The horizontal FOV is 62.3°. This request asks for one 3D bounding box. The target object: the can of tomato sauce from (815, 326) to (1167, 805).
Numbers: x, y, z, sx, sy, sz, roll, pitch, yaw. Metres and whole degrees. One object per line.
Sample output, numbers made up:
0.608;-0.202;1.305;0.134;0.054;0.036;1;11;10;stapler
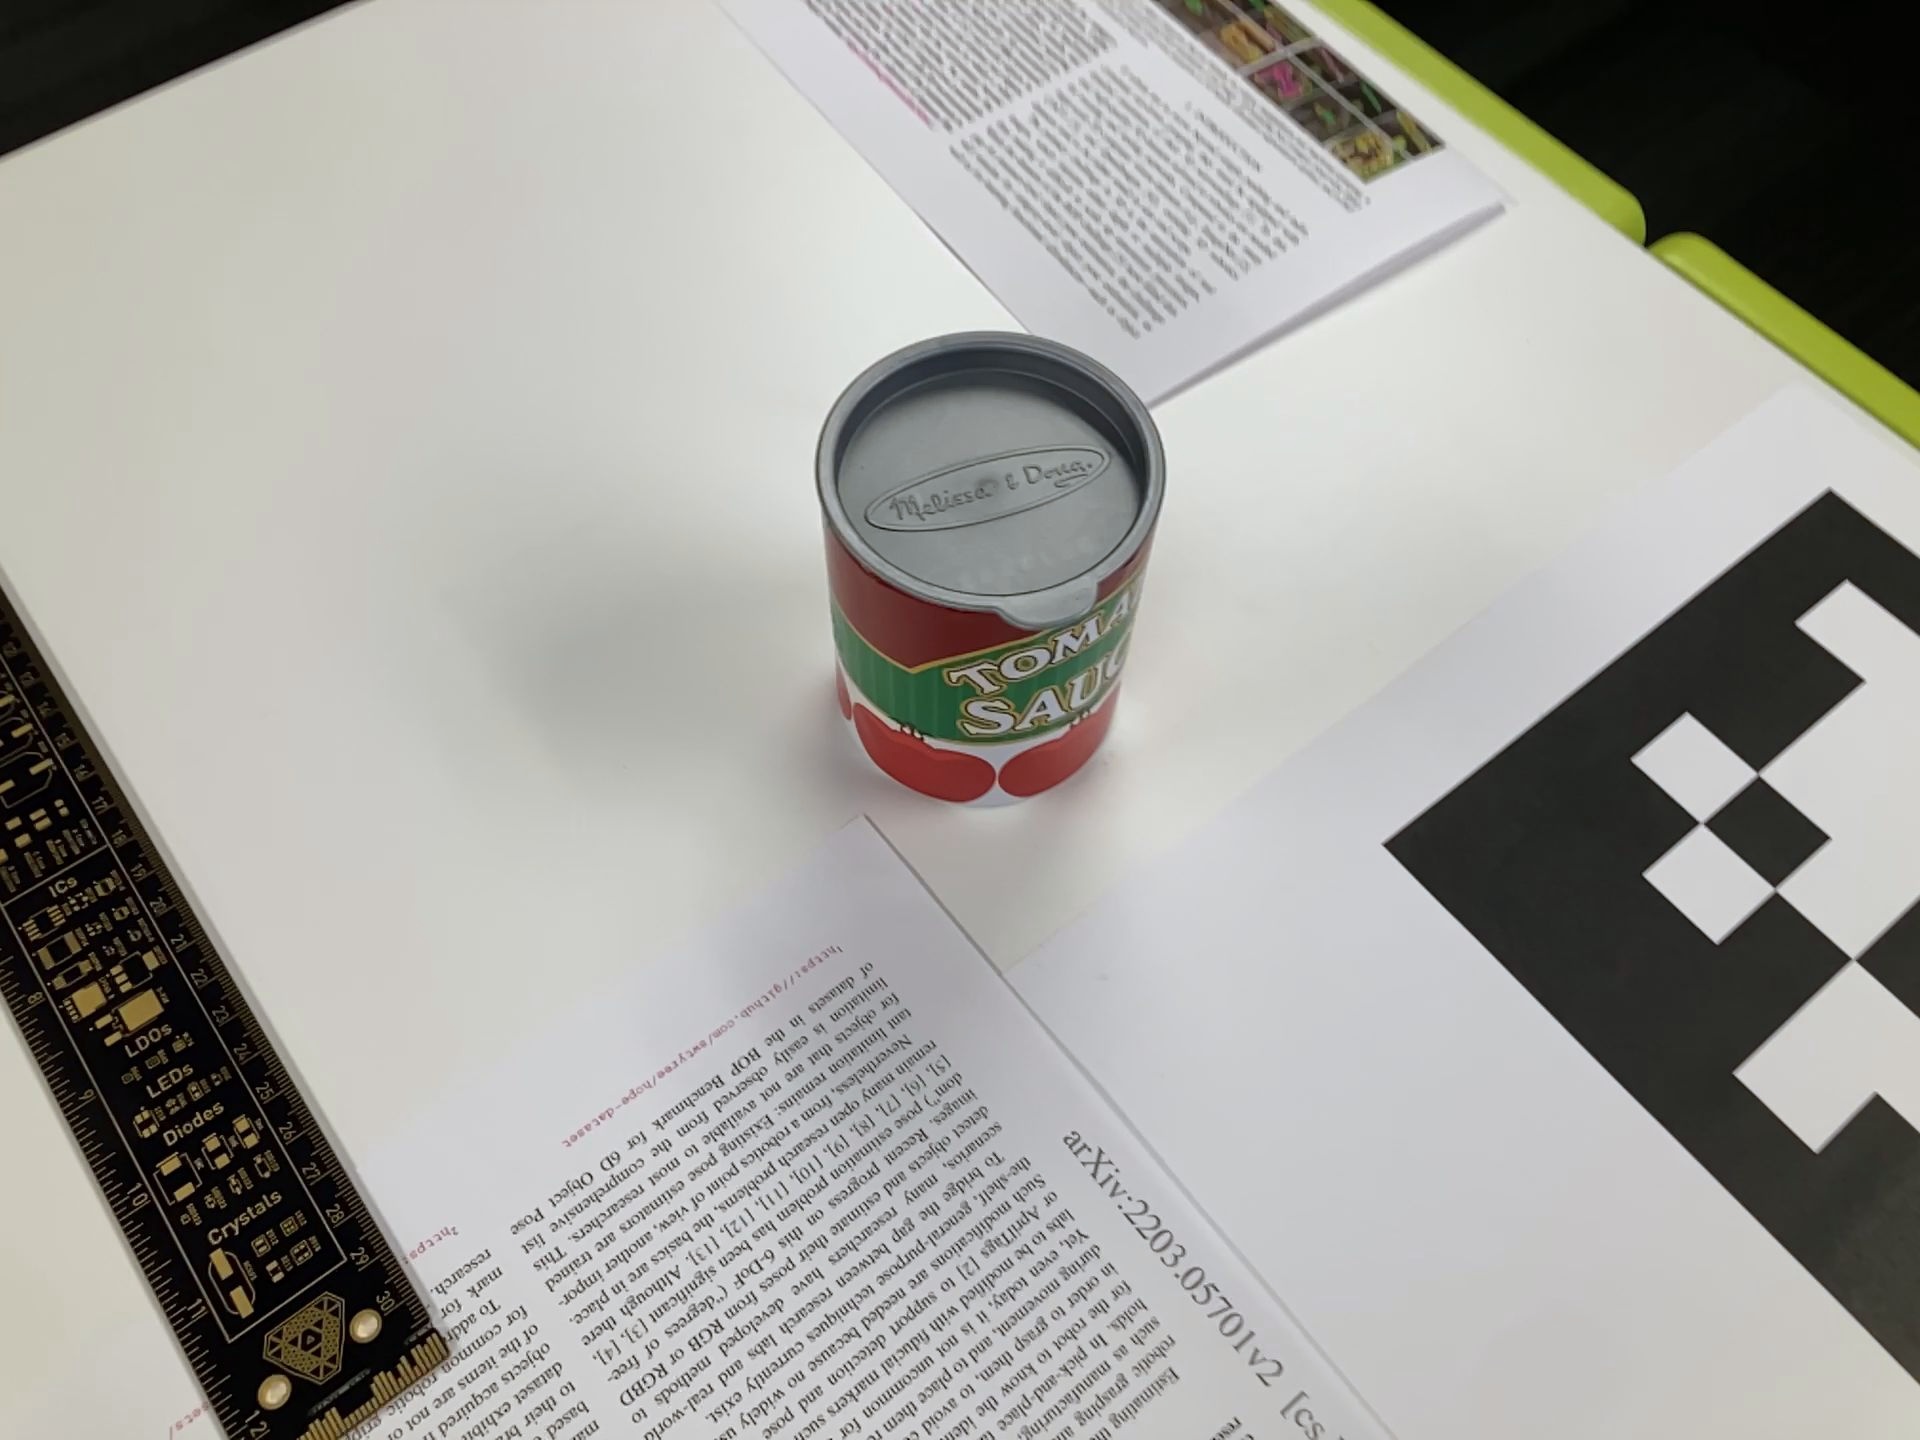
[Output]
0.006;-0.028;0.333;0.071;0.083;0.071;0;61;-1;can of tomato sauce
